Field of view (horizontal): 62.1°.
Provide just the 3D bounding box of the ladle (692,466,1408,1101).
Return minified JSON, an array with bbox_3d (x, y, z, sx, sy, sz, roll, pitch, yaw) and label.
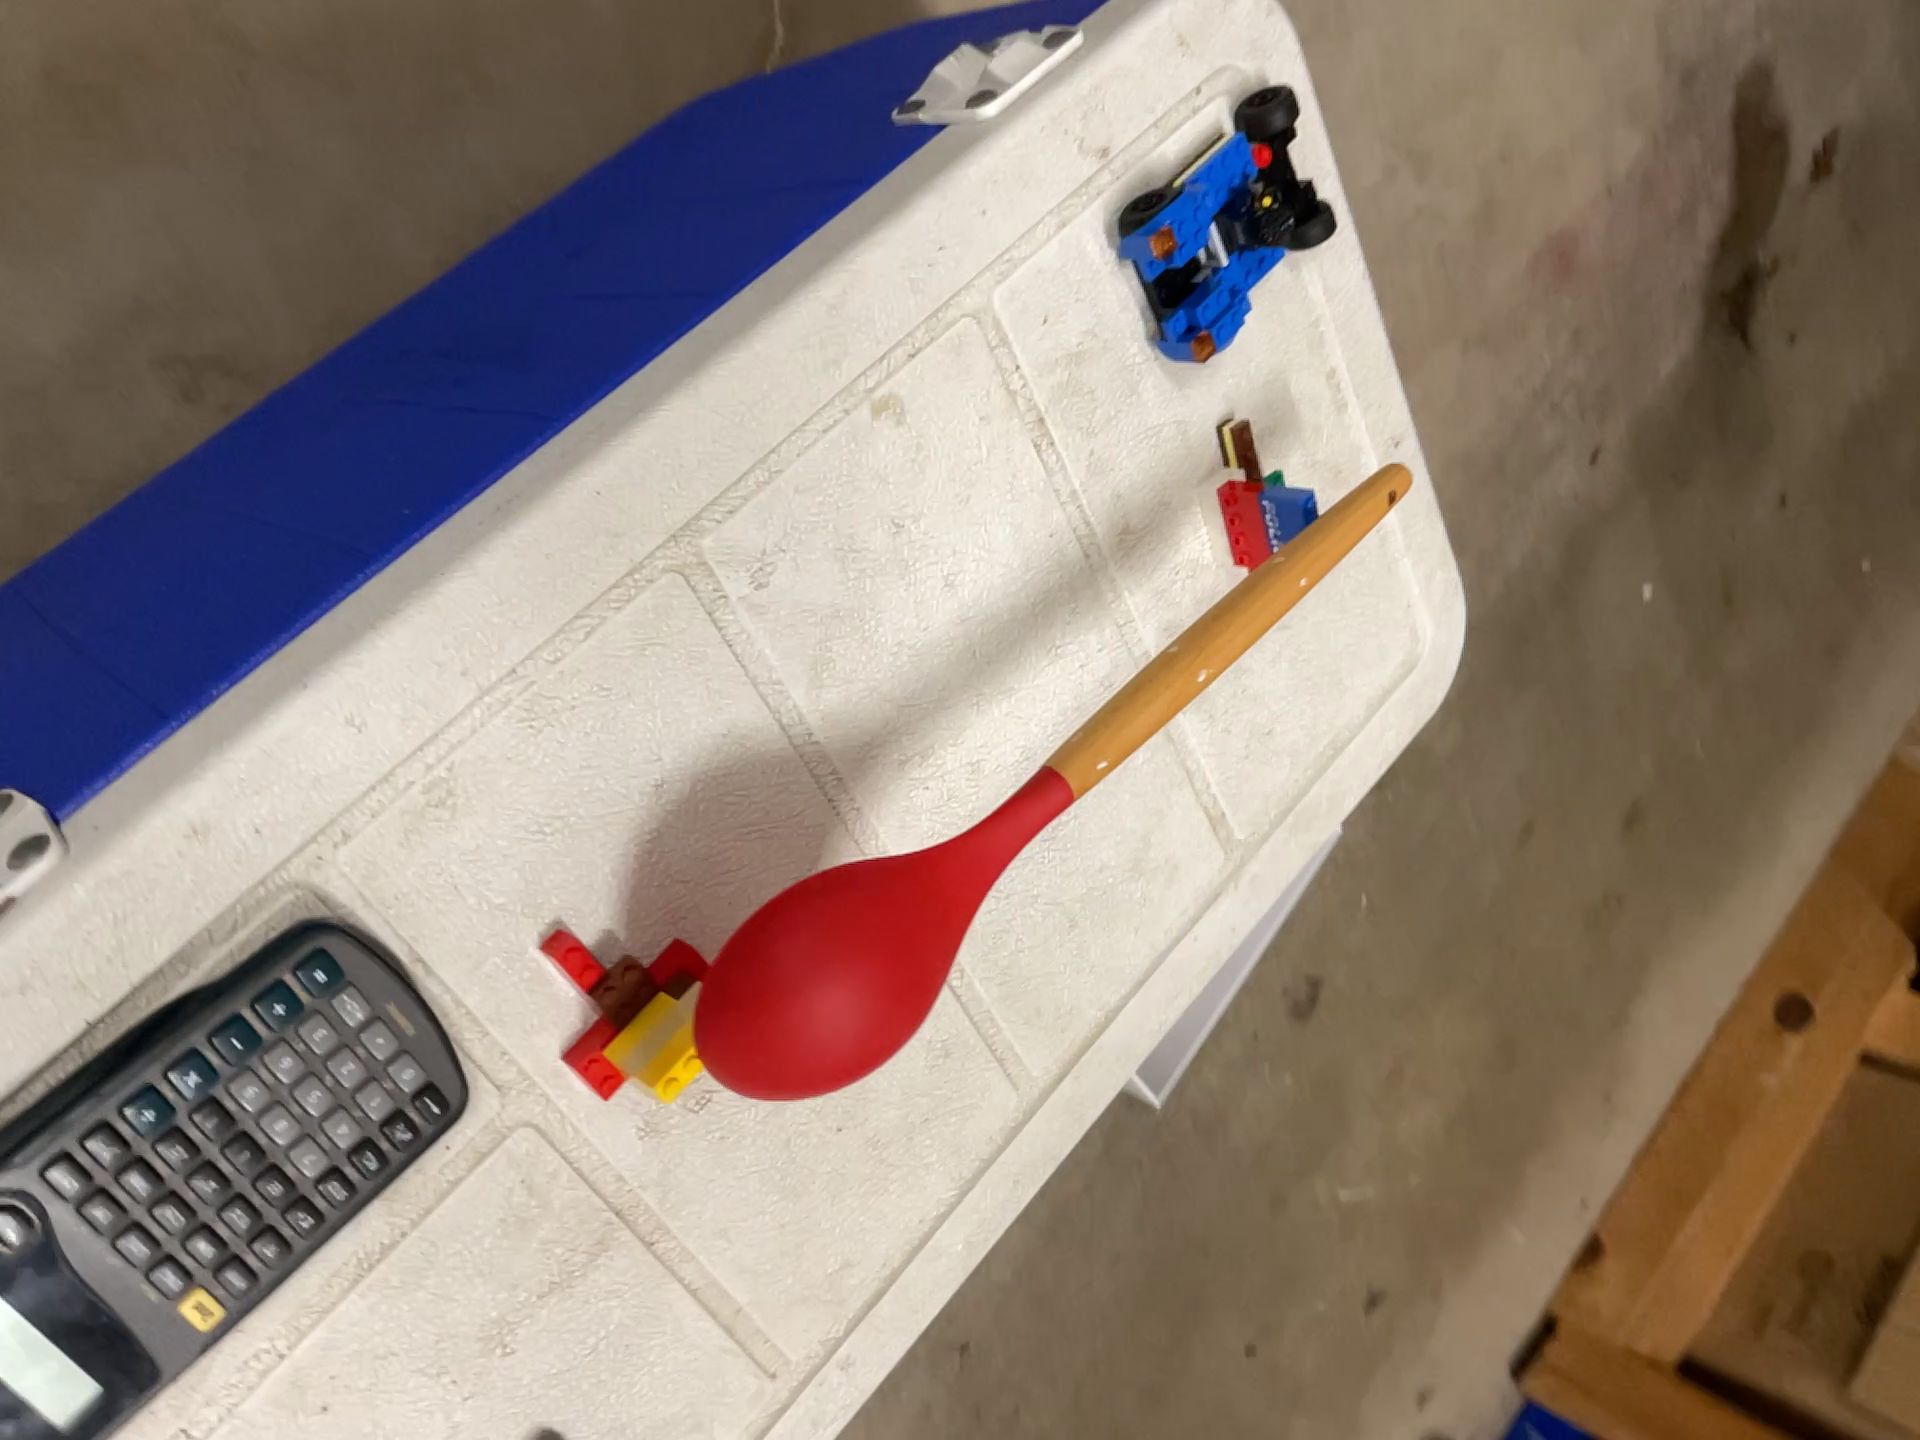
[{"bbox_3d":[0.047,0.006,0.499,0.315,0.031,0.069,-40,124,-26],"label":"ladle"}]
